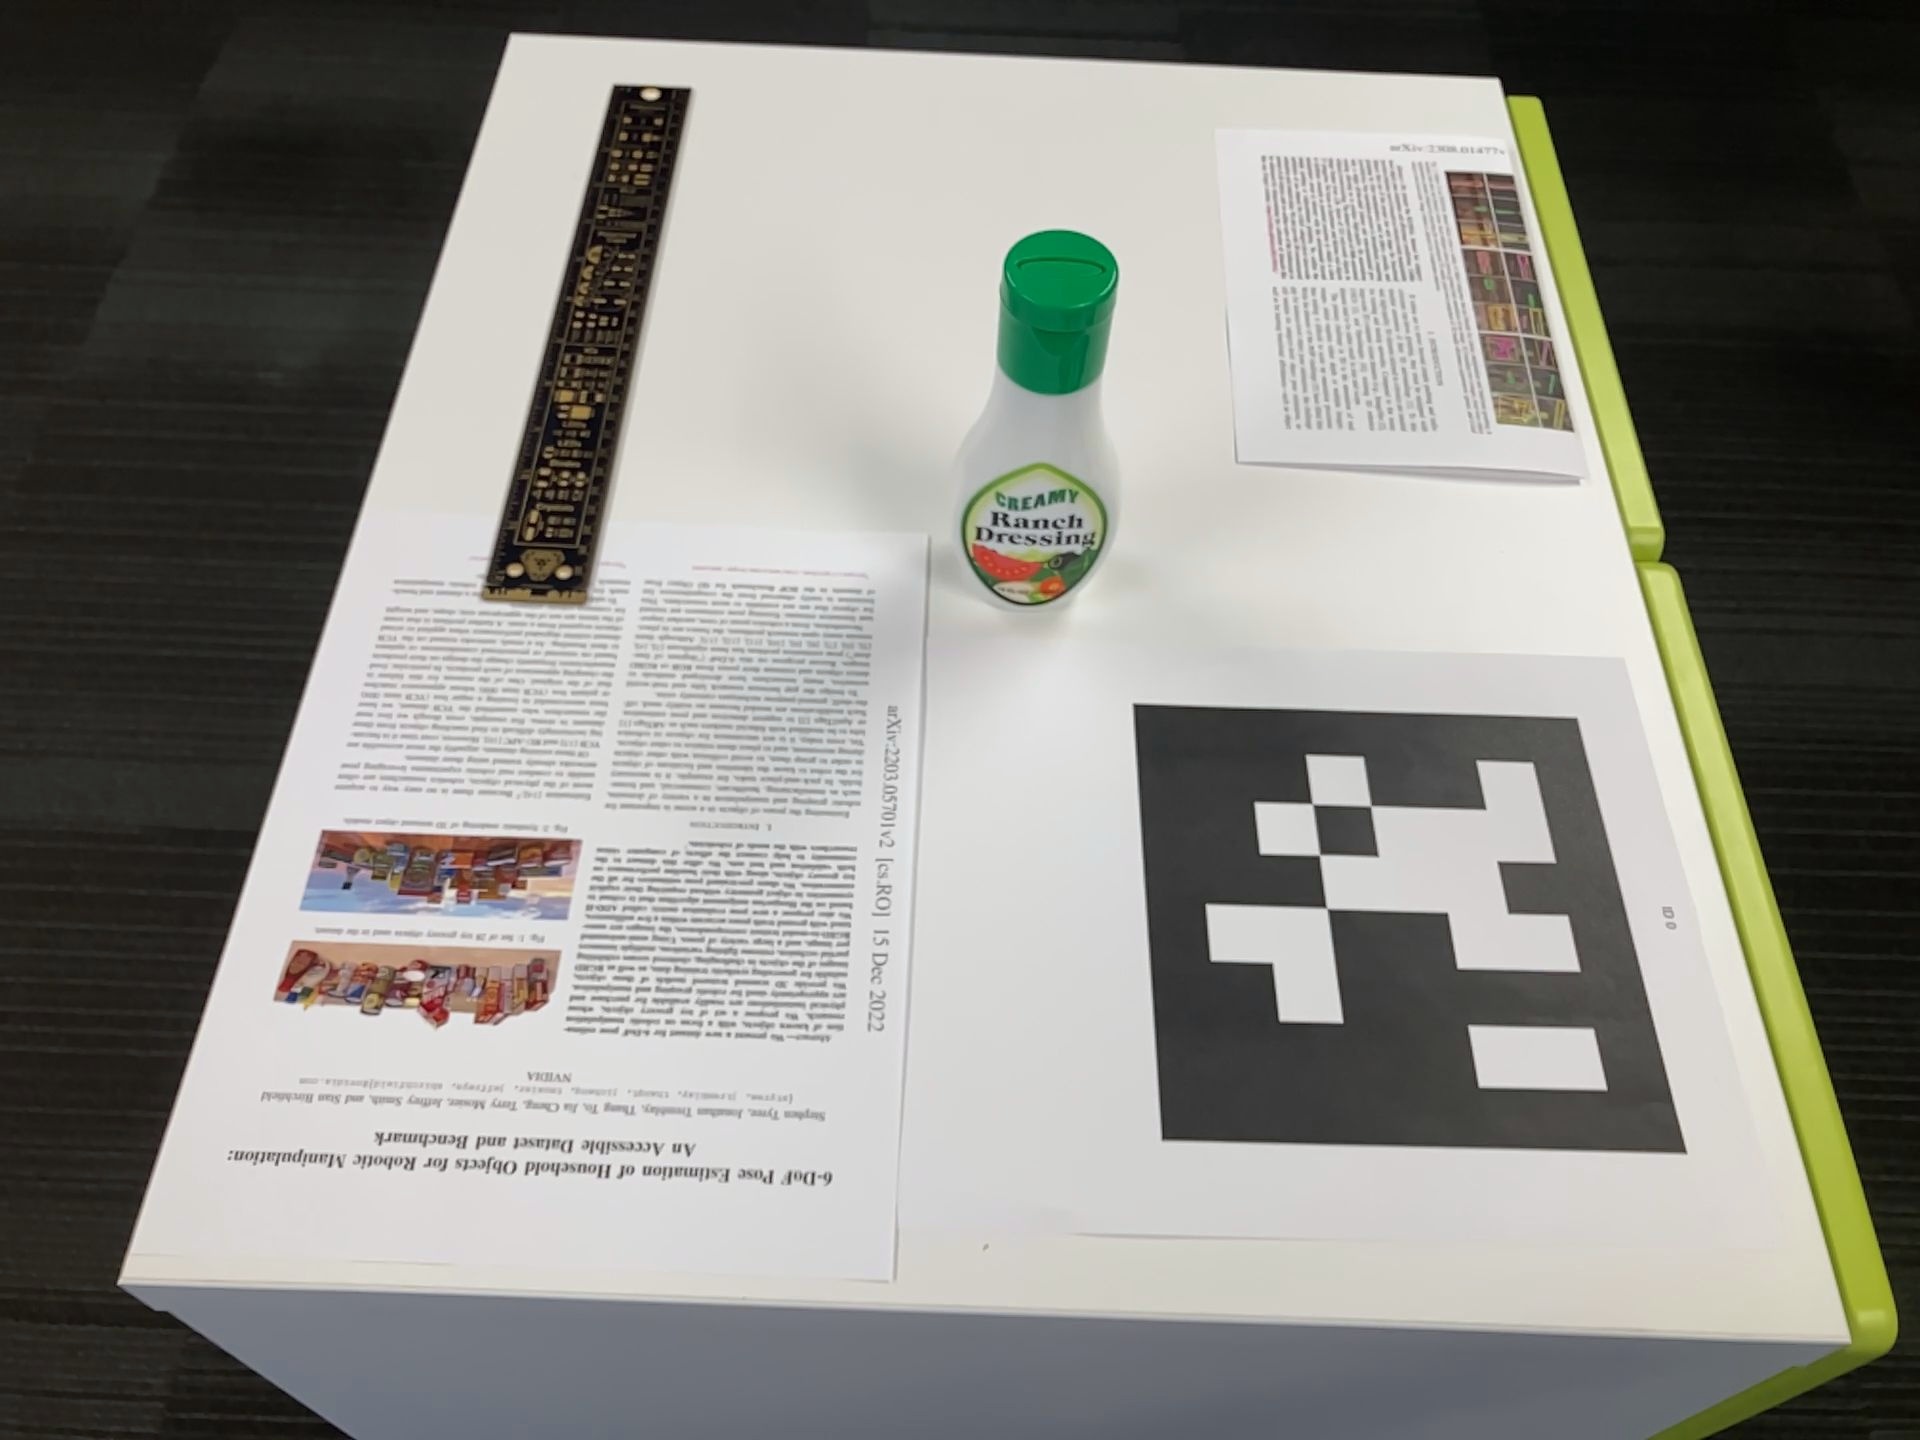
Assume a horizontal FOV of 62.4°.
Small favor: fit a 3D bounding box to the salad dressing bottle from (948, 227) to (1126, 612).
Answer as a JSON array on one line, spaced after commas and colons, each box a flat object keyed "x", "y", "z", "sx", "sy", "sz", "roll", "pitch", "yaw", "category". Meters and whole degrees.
[{"x": 0.029, "y": -0.099, "z": 0.548, "sx": 0.064, "sy": 0.147, "sz": 0.044, "roll": 2, "pitch": 55, "yaw": 0, "category": "salad dressing bottle"}]
